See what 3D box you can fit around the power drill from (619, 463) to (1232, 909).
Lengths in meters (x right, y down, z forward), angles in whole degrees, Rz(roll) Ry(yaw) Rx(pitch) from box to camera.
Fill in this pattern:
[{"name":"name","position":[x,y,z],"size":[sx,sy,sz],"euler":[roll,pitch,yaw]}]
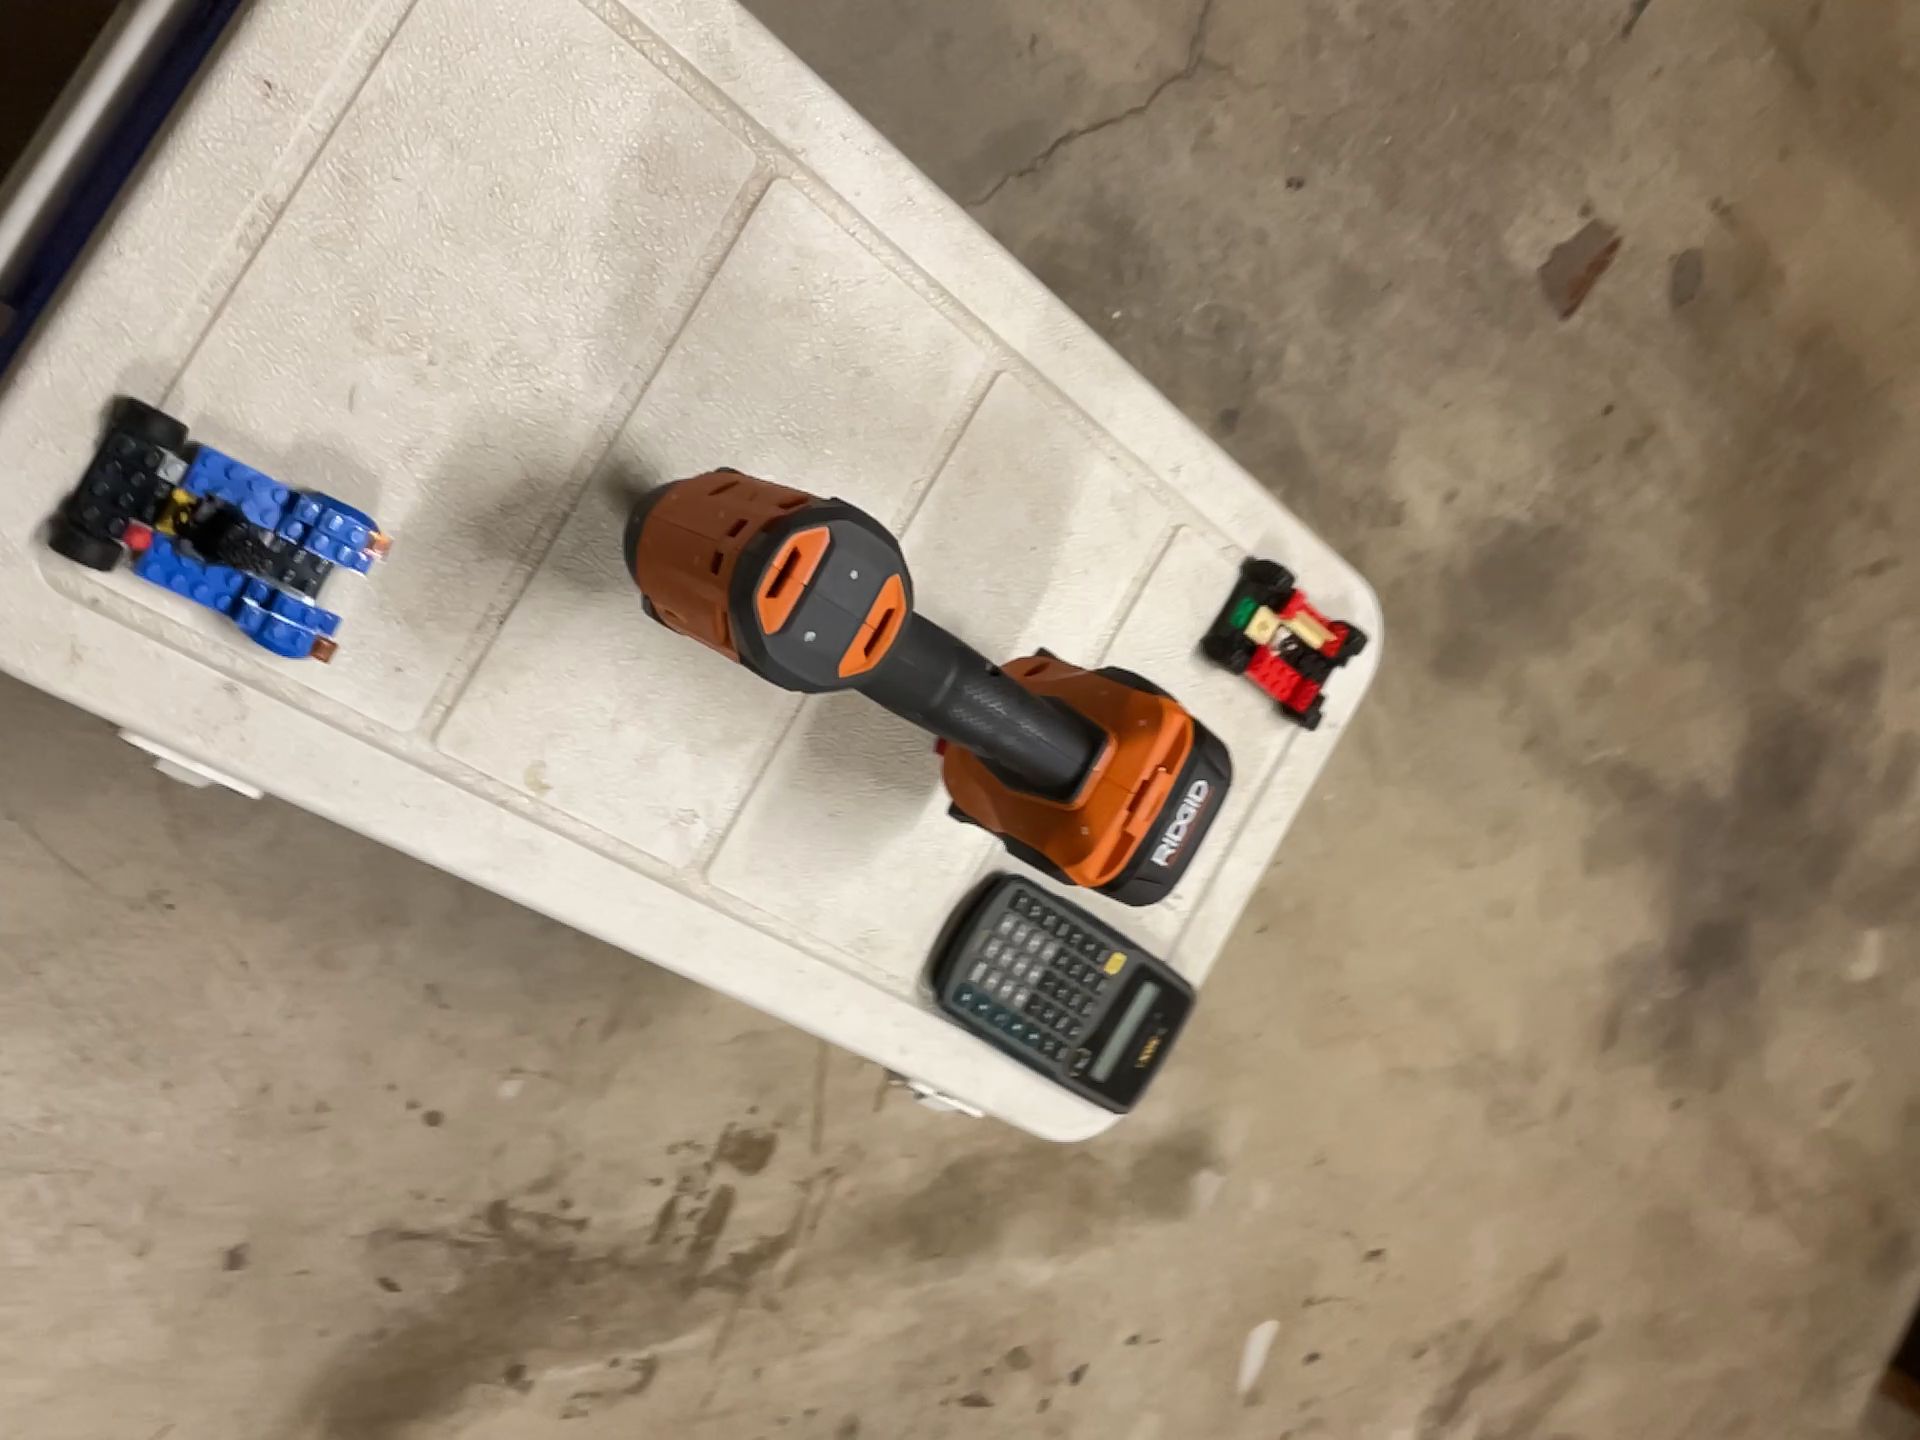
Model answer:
[{"name":"power drill","position":[-0.022,-0.020,0.601],"size":[0.226,0.164,0.084],"euler":[31,87,-35]}]
